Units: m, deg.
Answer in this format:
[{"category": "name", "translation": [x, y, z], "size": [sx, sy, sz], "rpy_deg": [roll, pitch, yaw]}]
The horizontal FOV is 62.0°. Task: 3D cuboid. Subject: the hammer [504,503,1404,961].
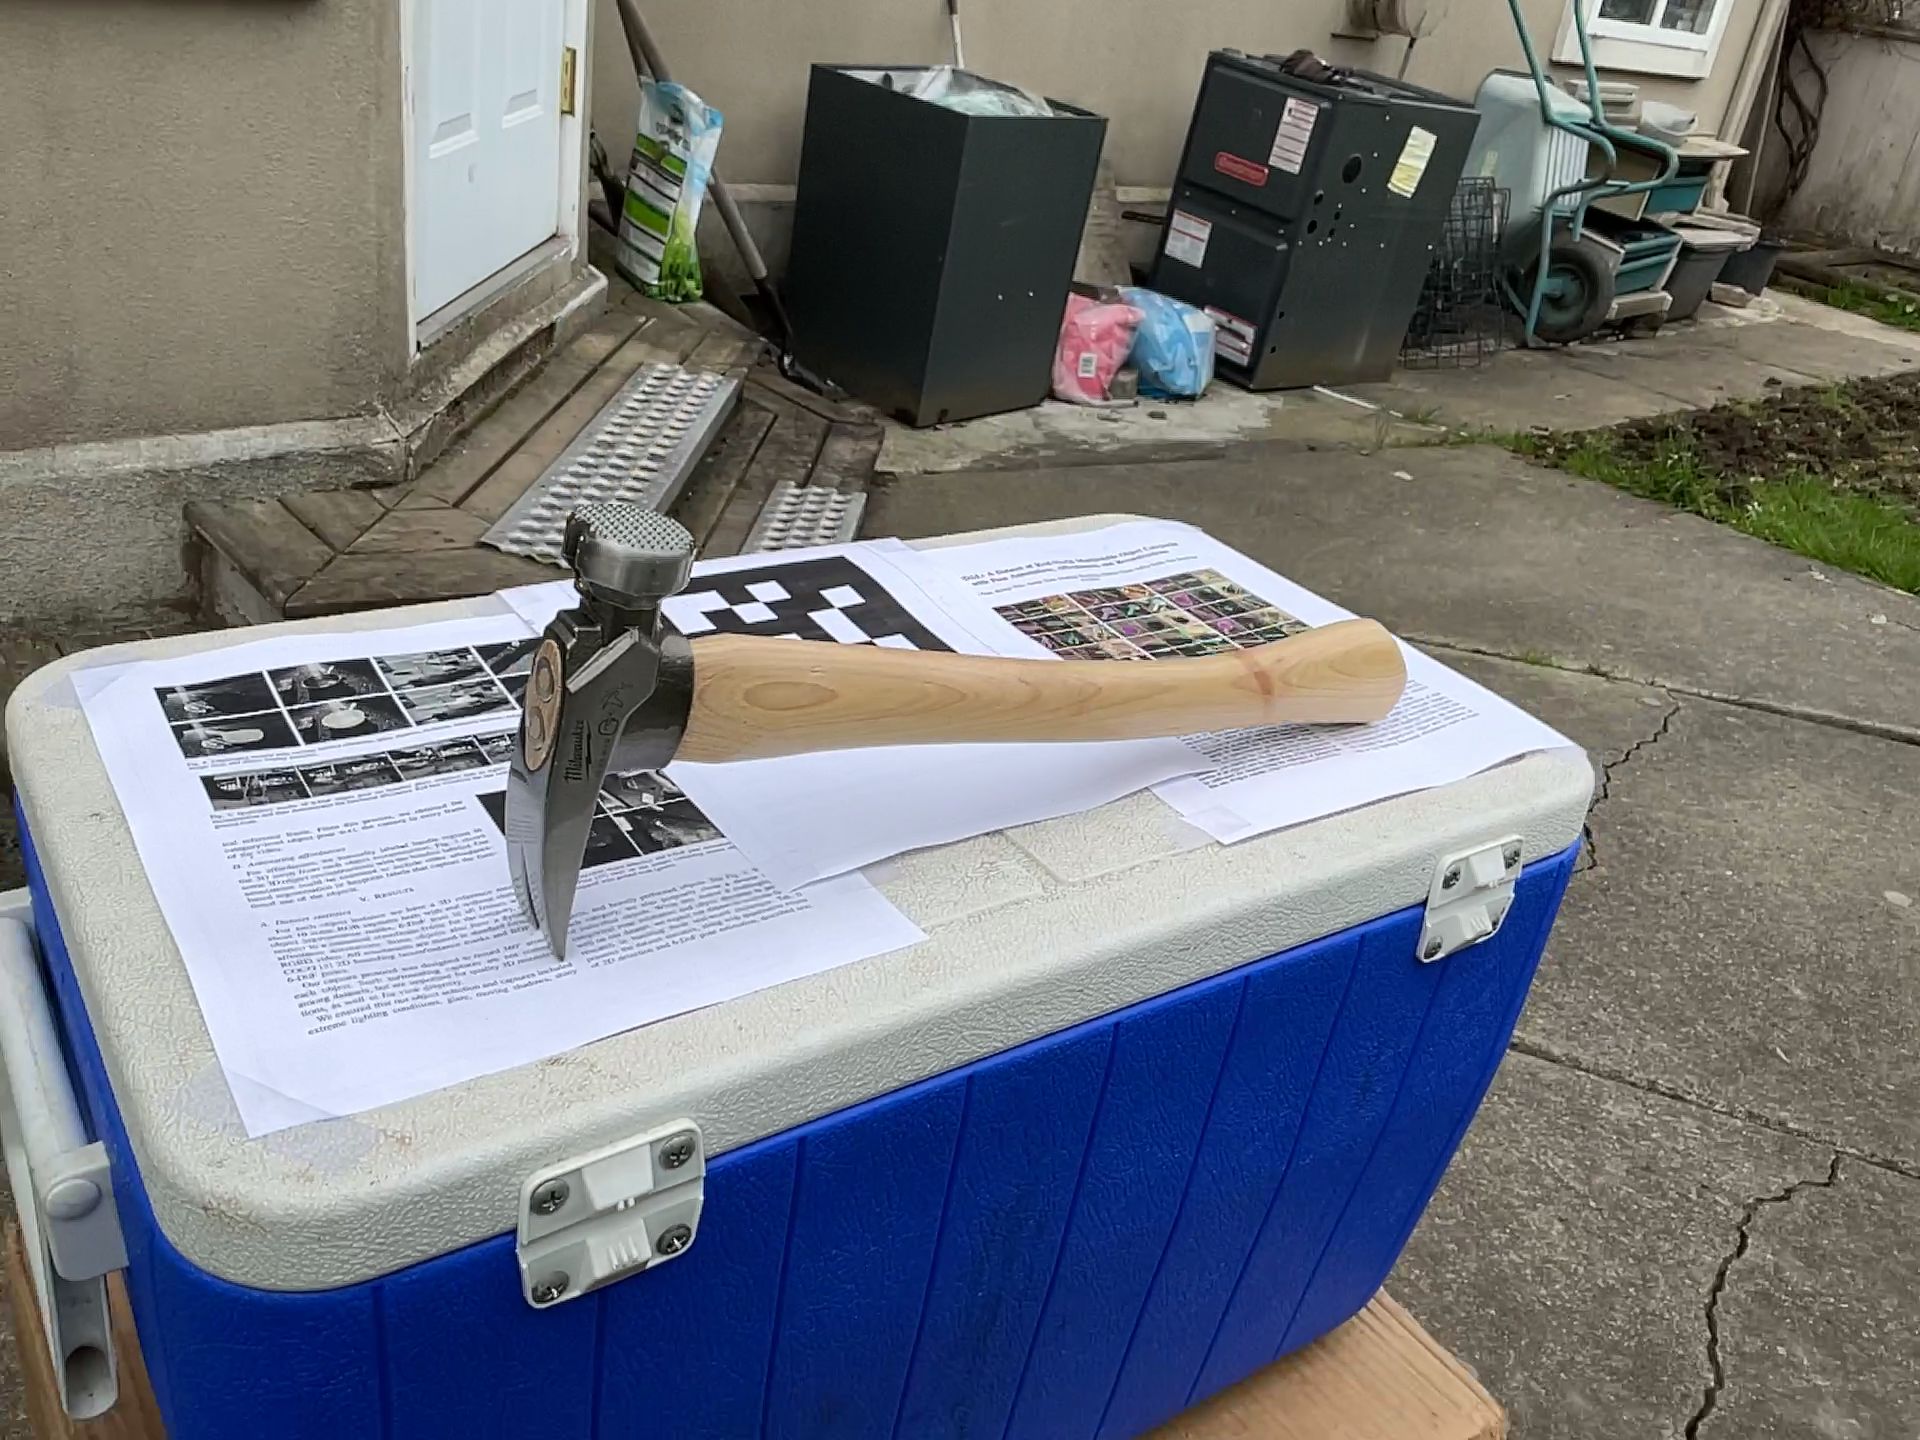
[{"category": "hammer", "translation": [0.028, 0.001, 0.615], "size": [0.410, 0.146, 0.038], "rpy_deg": [-2, 29, -39]}]
